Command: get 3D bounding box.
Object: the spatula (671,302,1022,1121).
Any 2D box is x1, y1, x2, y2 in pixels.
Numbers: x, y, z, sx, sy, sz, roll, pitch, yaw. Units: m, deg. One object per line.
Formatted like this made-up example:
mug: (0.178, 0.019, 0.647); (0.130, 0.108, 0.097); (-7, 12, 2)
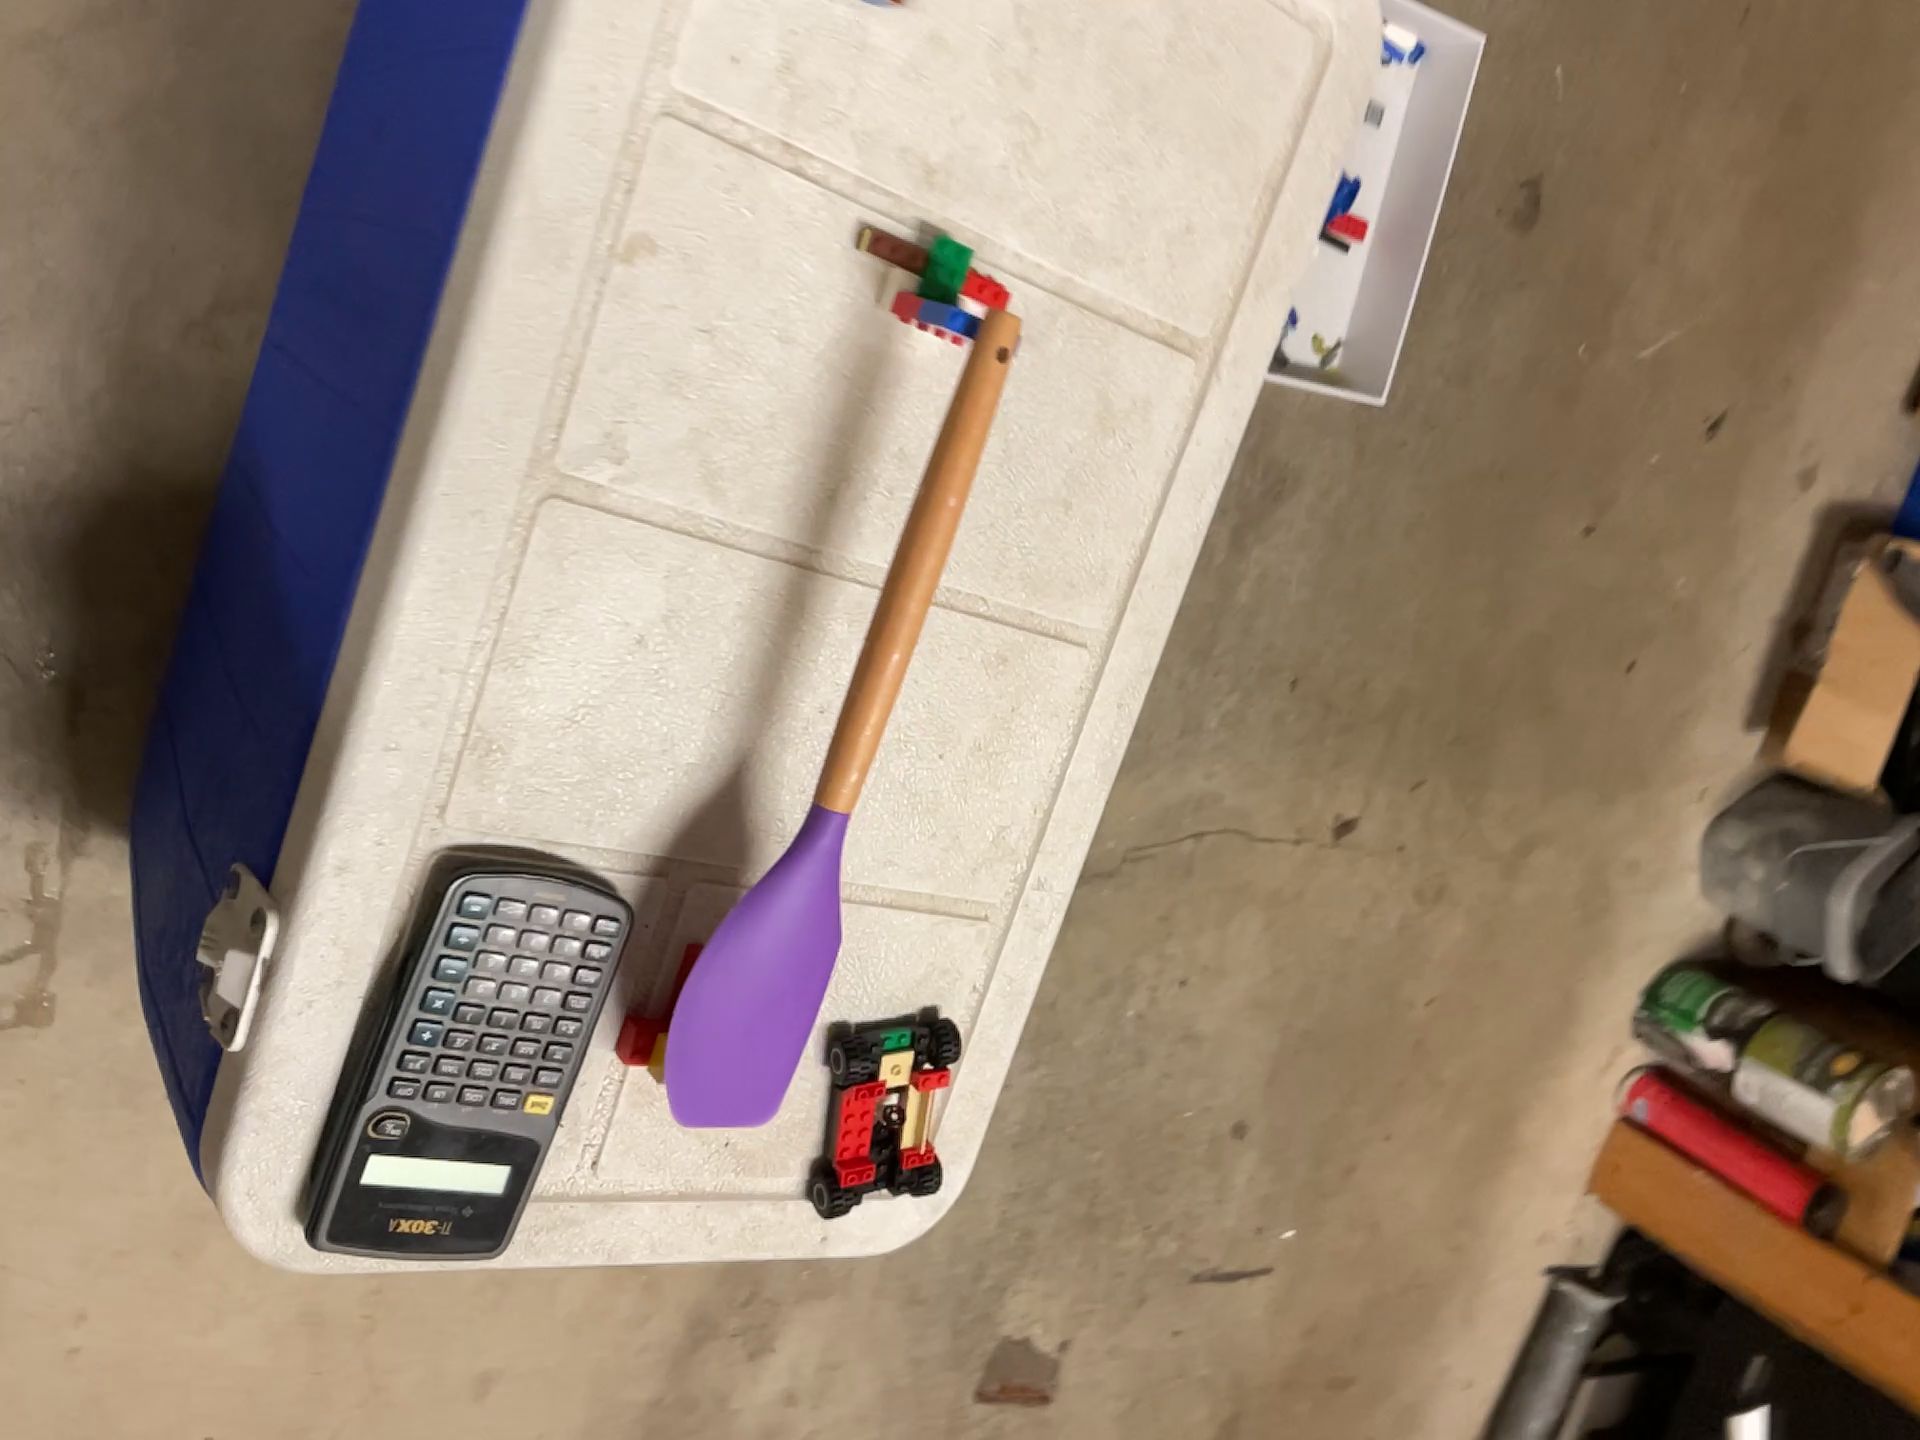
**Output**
spatula: (-0.039, 0.004, 0.572); (0.060, 0.018, 0.315); (13, 102, -38)
